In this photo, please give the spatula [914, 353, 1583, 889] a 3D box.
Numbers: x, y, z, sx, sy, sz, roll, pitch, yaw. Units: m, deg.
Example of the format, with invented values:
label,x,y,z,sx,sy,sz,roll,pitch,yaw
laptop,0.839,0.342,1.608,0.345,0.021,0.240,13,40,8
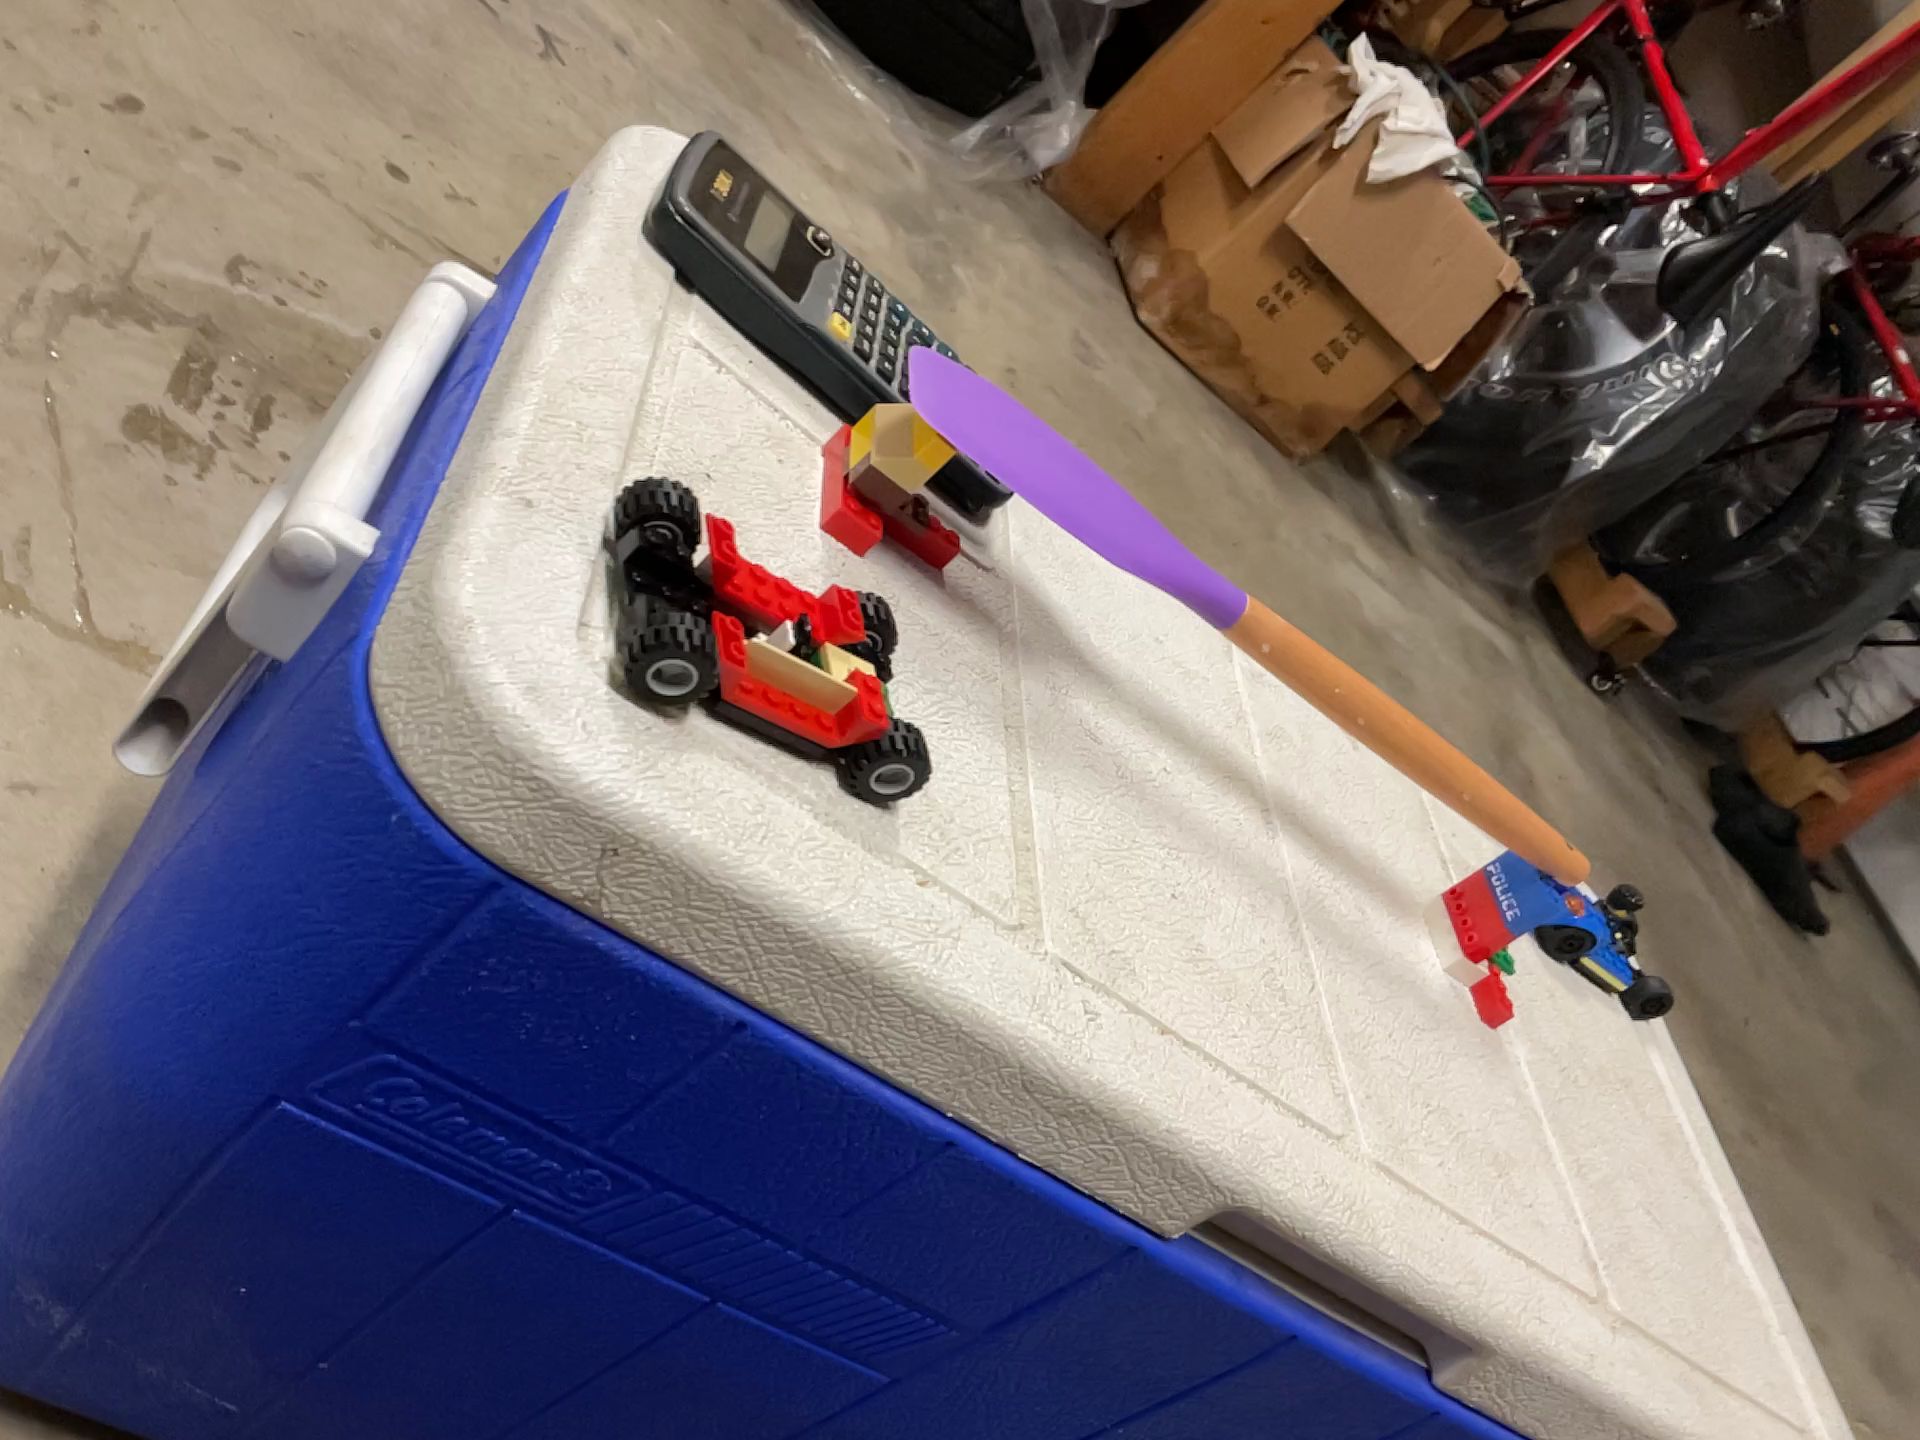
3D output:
label,x,y,z,sx,sy,sz,roll,pitch,yaw
spatula,0.106,-0.022,0.523,0.316,0.018,0.060,33,32,-25
